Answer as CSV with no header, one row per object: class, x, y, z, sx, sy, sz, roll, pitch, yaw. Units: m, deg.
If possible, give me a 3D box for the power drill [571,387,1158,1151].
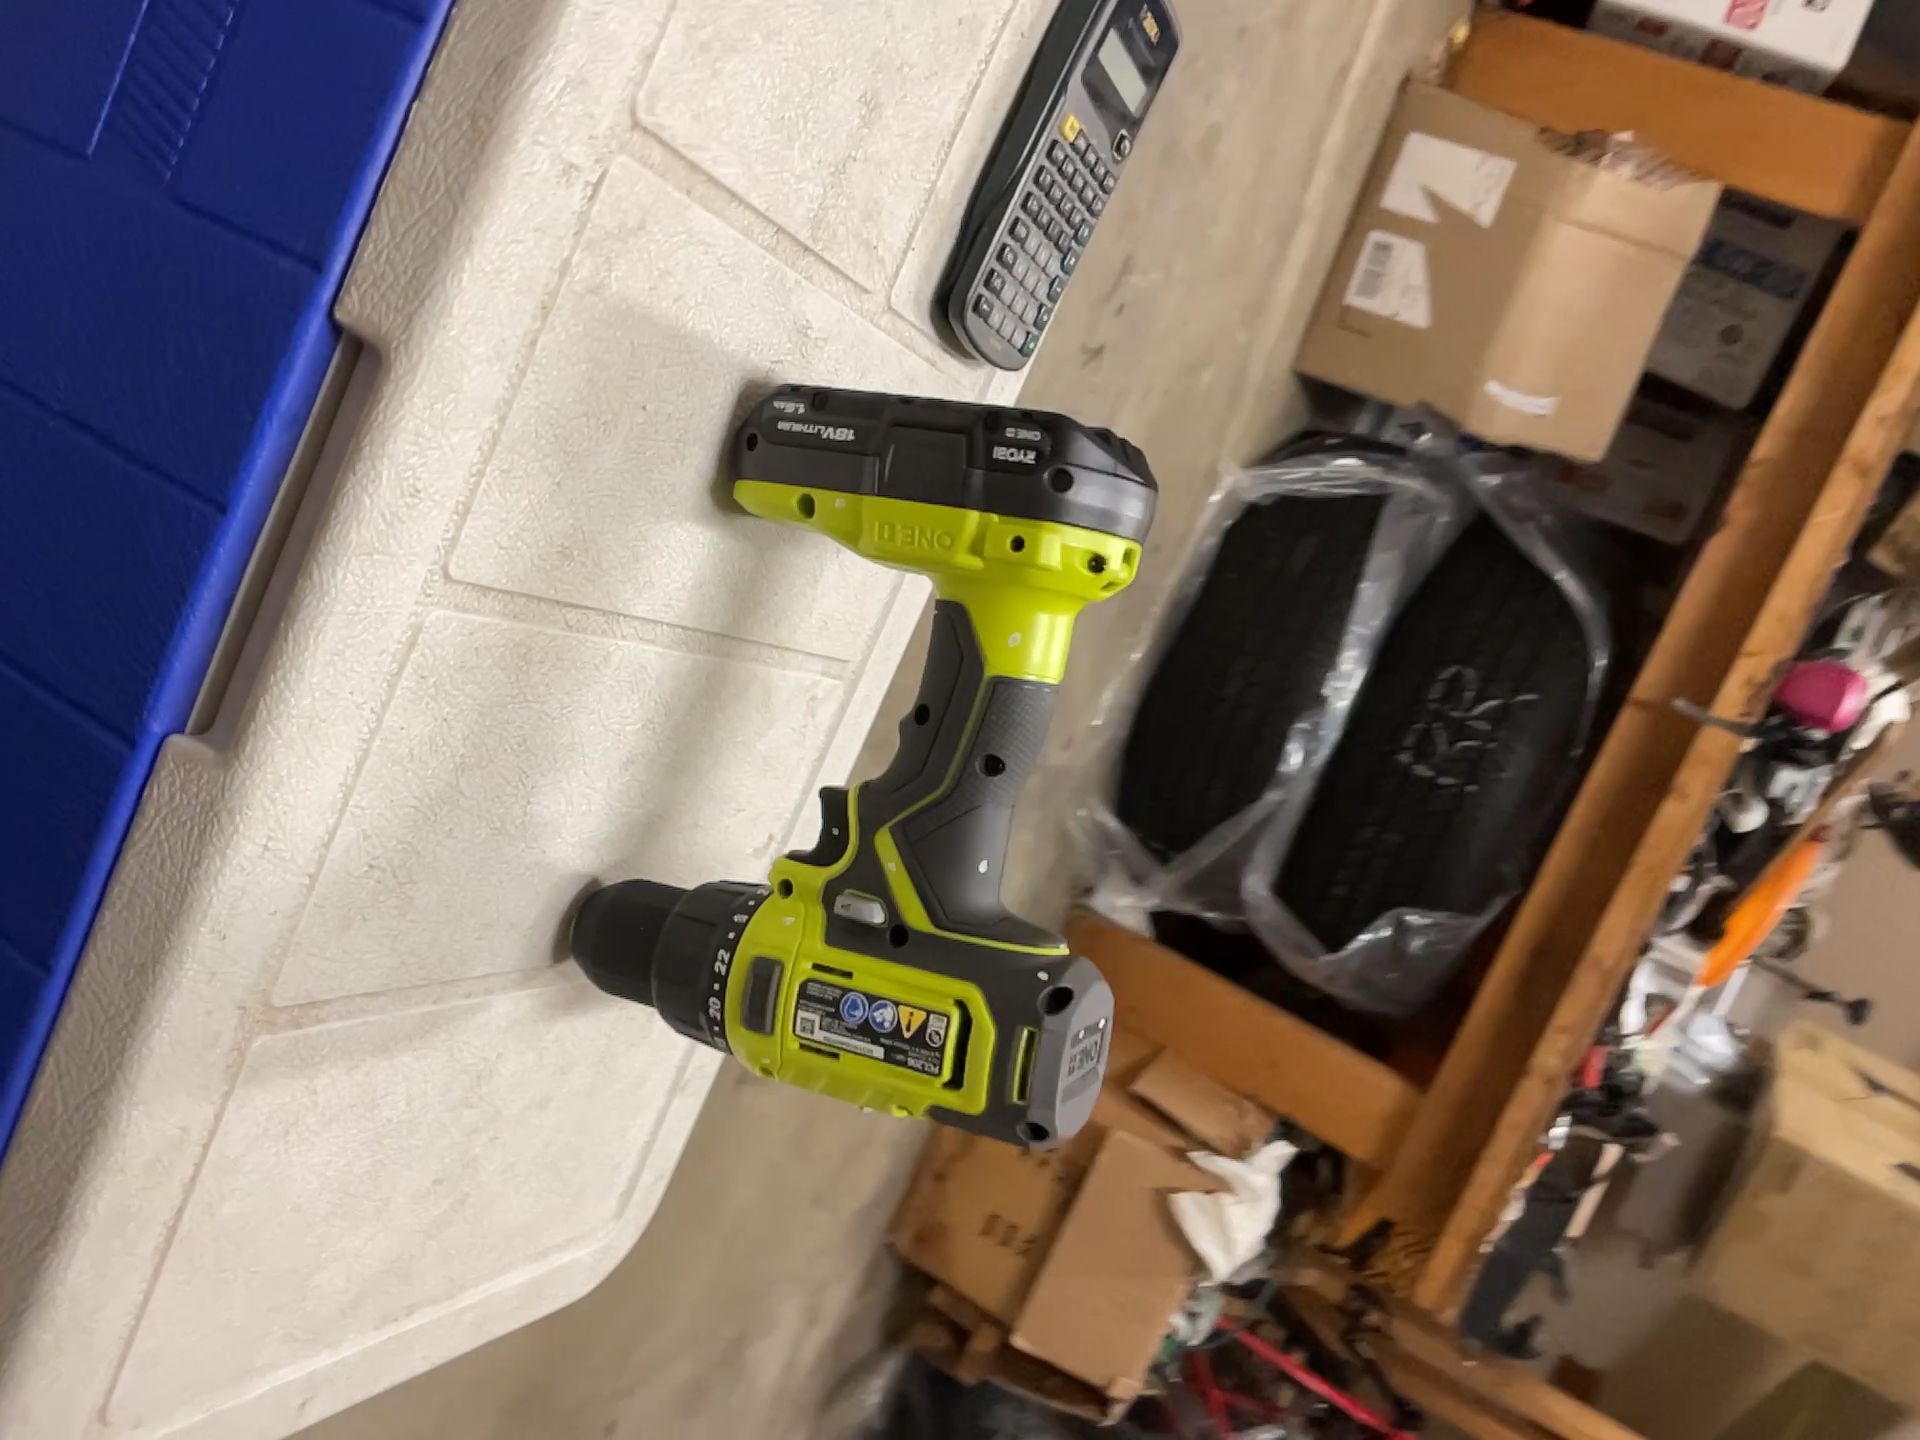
power drill,-0.033,0.012,0.534,0.080,0.190,0.228,3,98,-68
